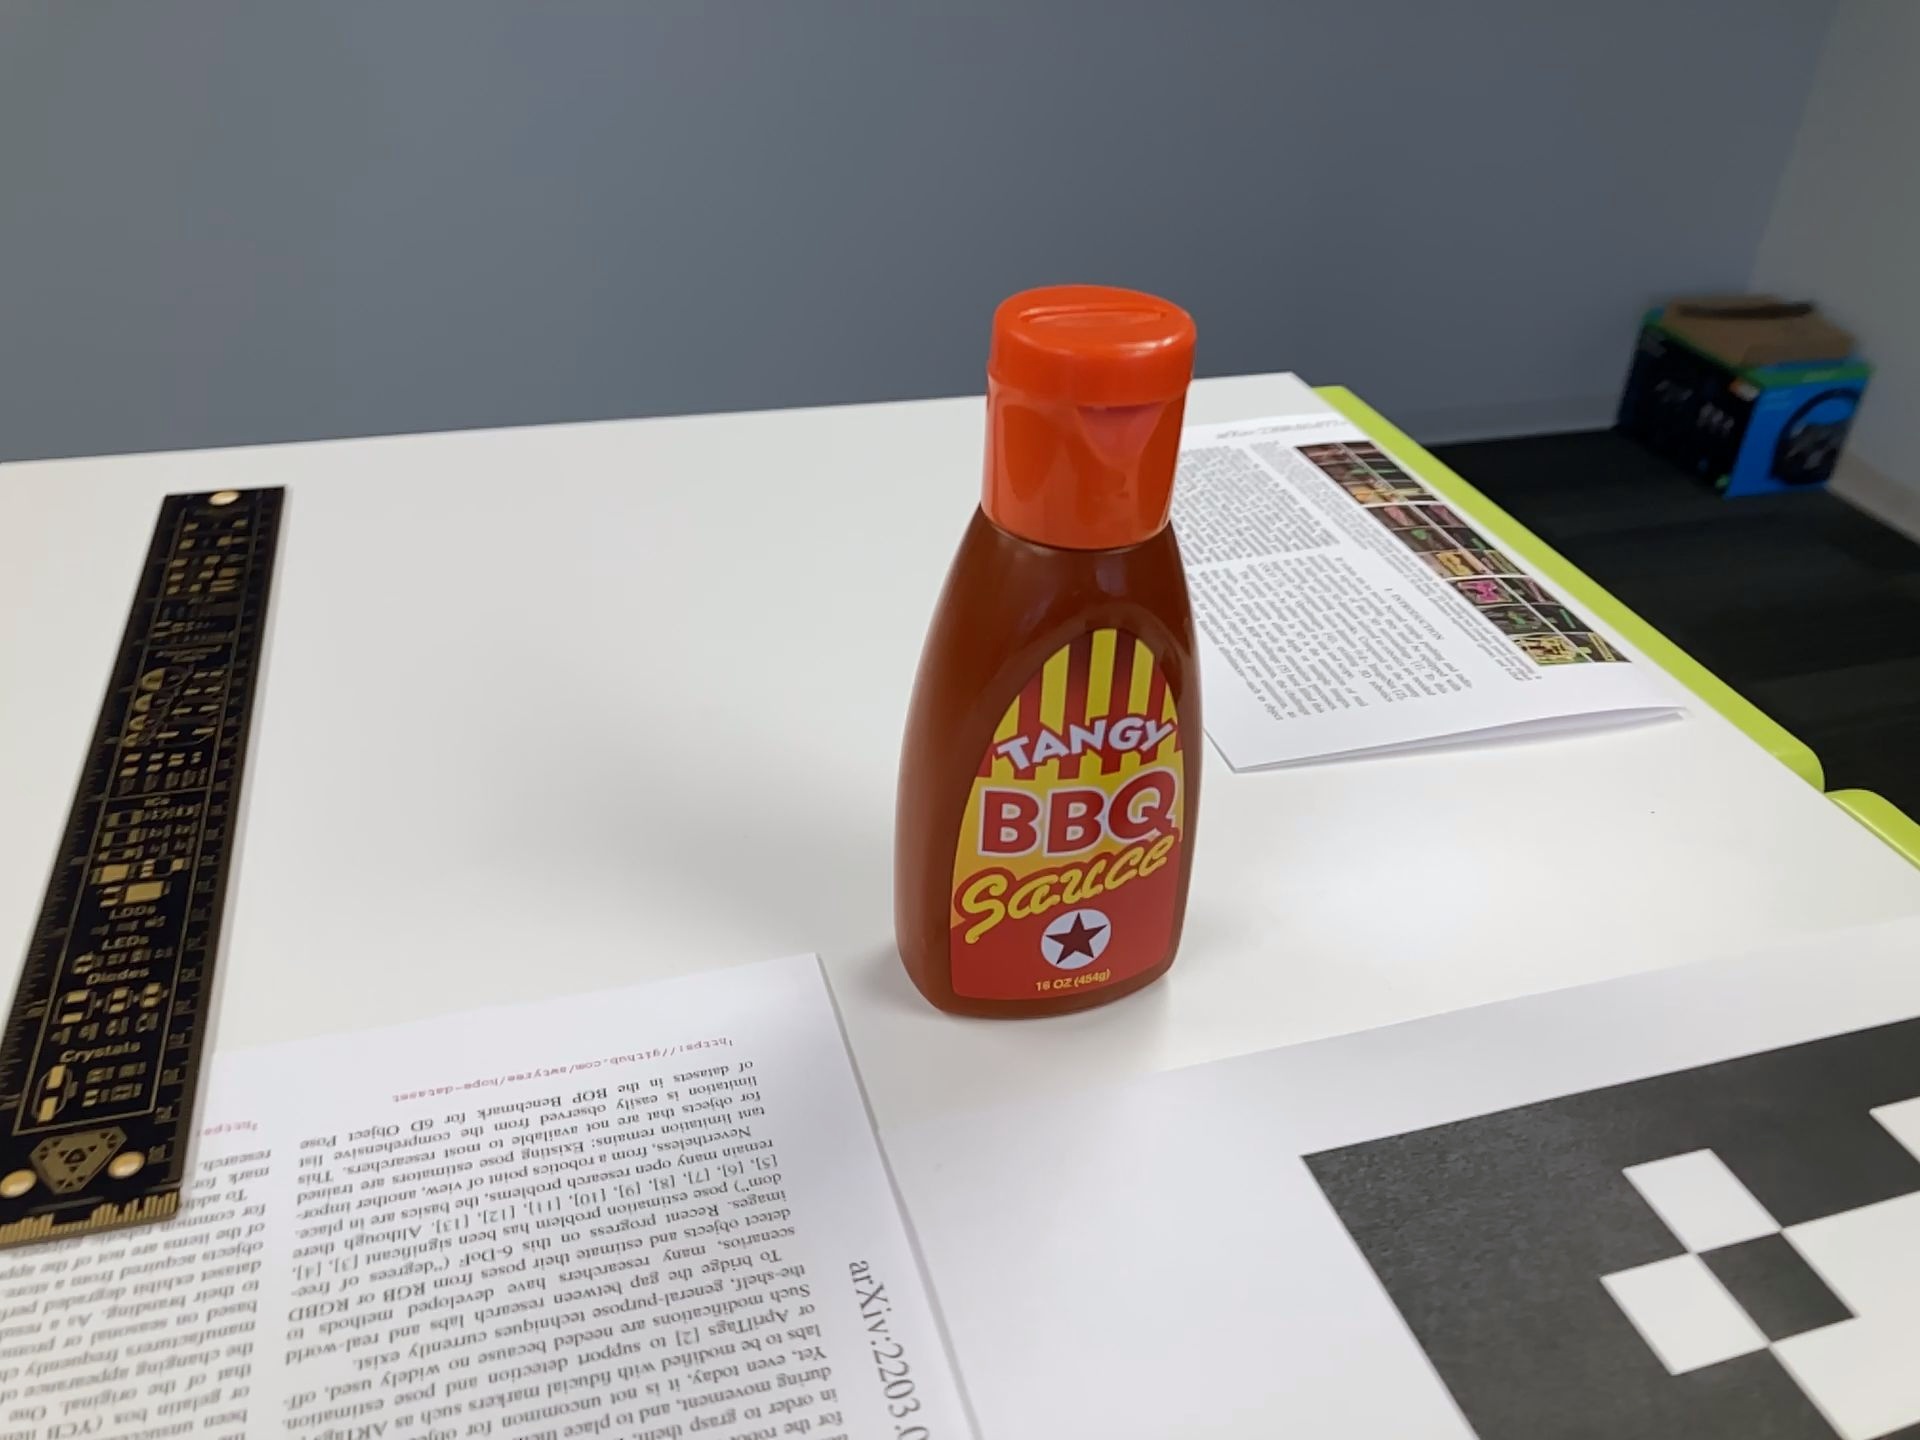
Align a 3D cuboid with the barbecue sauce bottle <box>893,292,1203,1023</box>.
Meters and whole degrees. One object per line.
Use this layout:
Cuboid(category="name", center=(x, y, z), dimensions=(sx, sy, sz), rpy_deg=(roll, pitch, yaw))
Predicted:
Cuboid(category="barbecue sauce bottle", center=(0.020, -0.008, 0.320), dimensions=(0.065, 0.148, 0.043), rpy_deg=(-6, 33, -15))
